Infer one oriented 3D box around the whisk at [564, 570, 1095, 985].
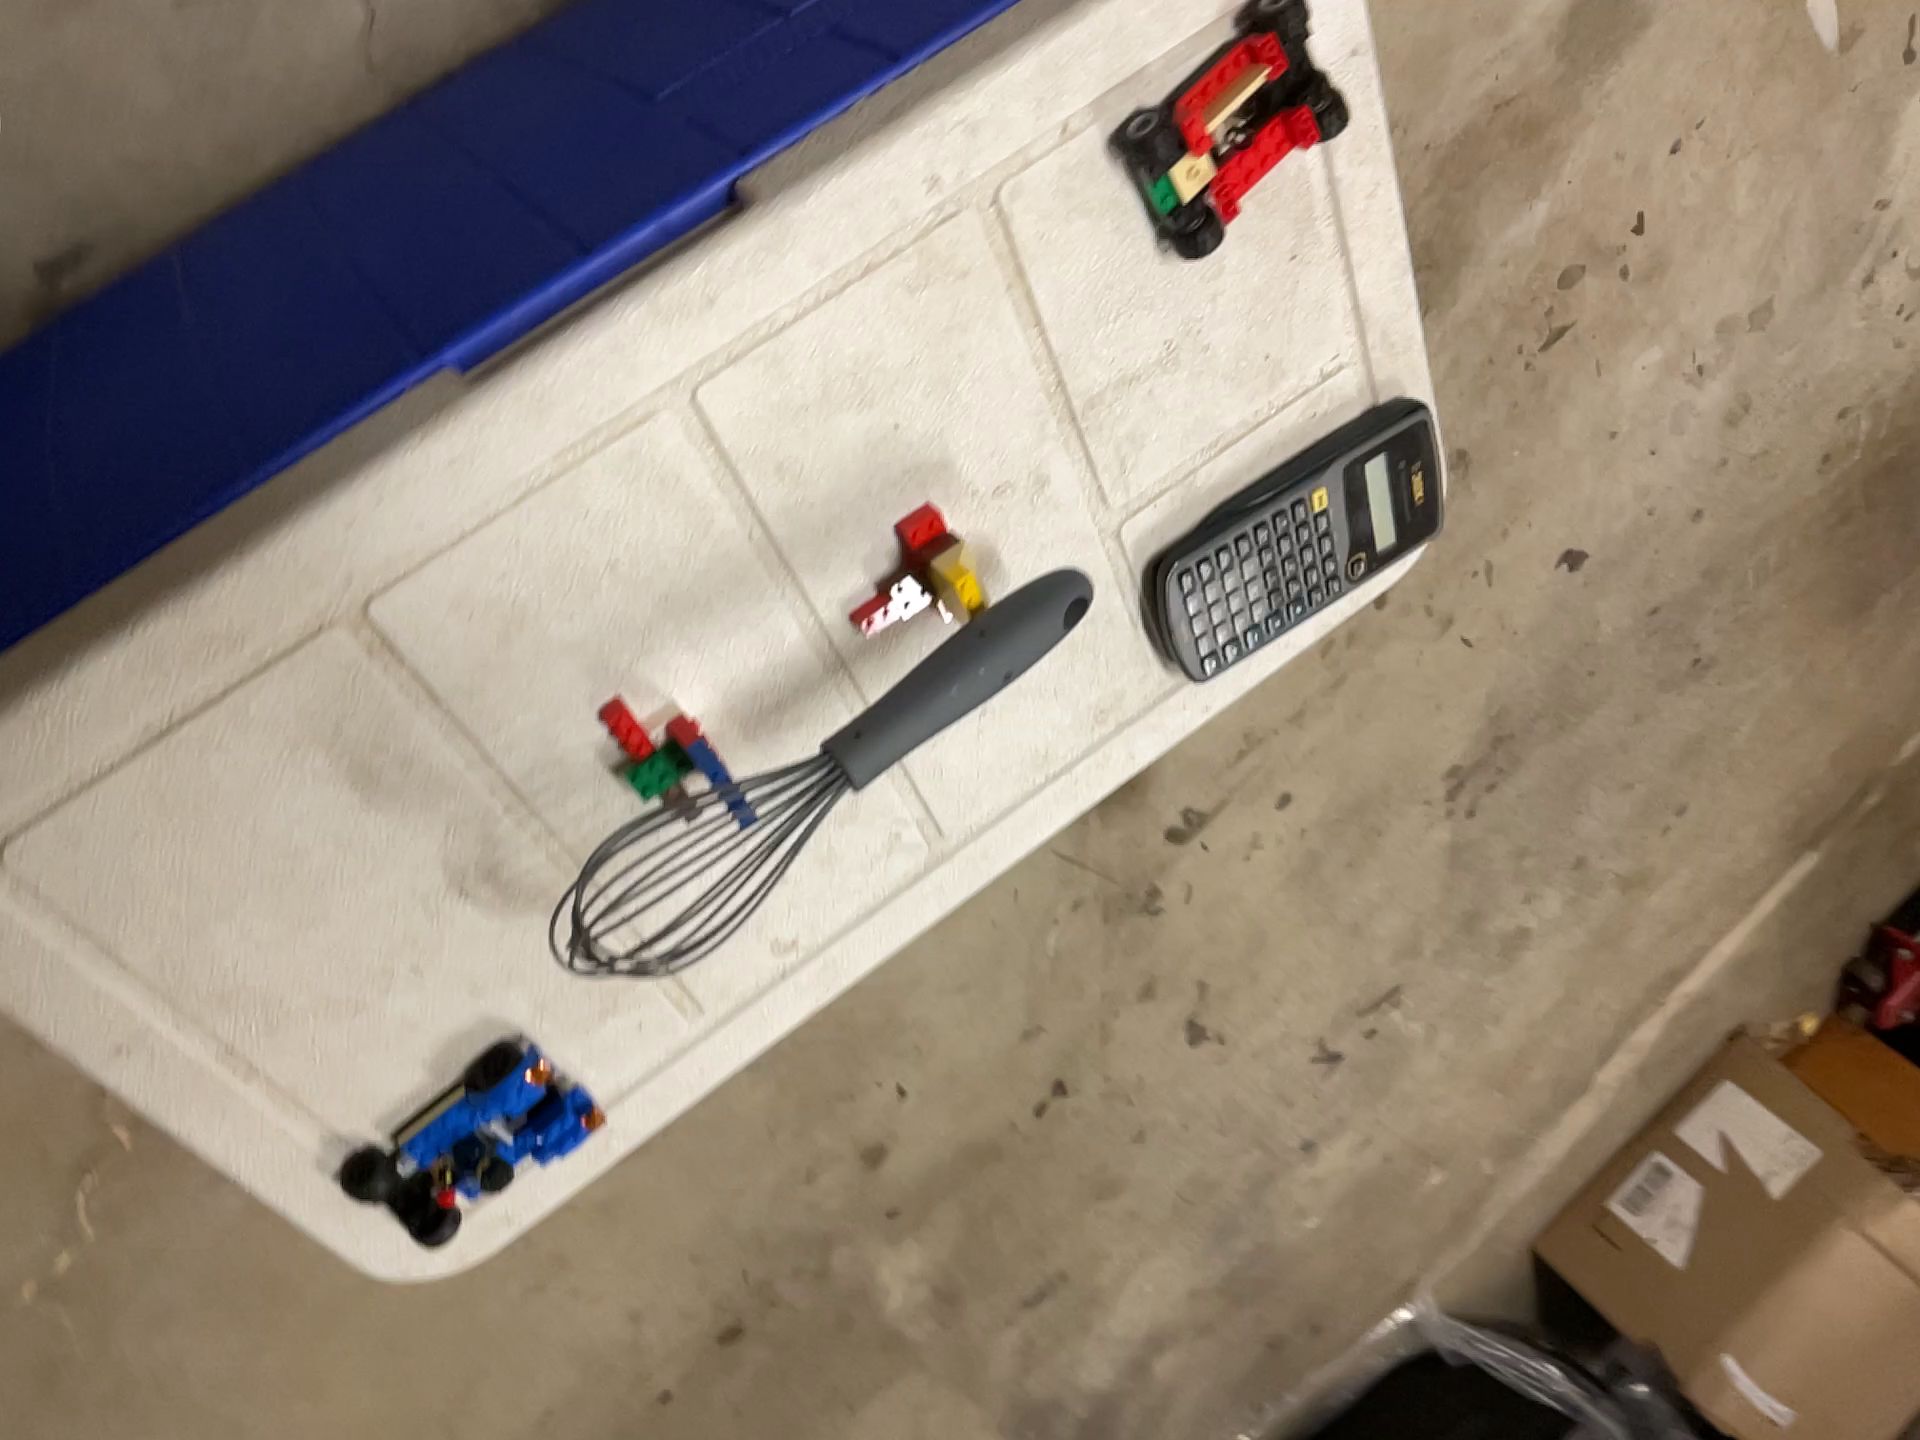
[{"bbox_3d":[-0.043,0.017,0.578,0.239,0.055,0.055,-36,136,-15],"label":"whisk"}]
